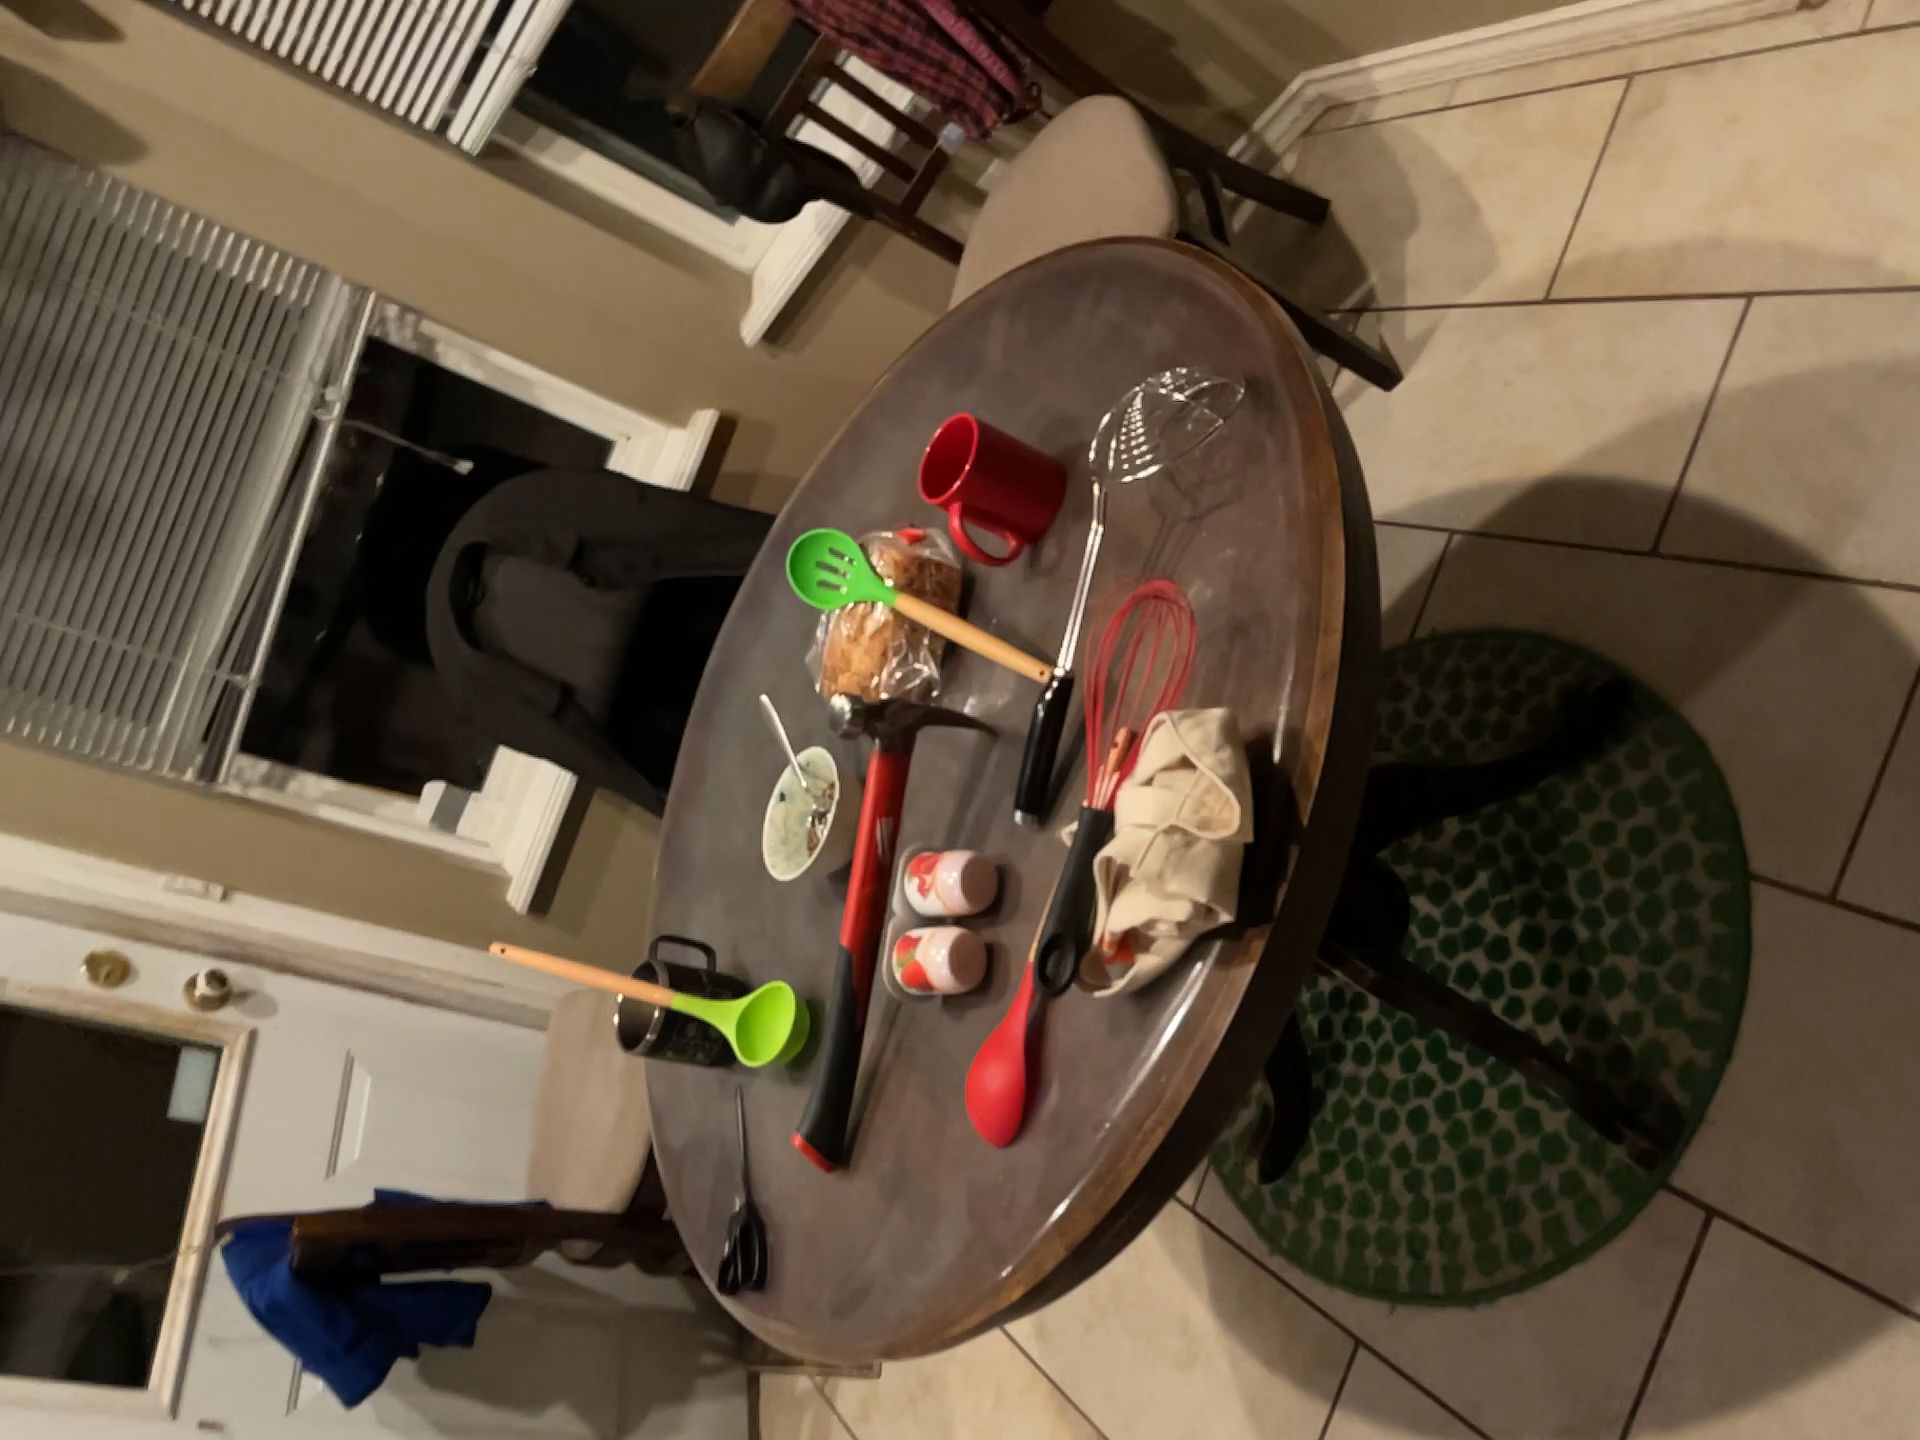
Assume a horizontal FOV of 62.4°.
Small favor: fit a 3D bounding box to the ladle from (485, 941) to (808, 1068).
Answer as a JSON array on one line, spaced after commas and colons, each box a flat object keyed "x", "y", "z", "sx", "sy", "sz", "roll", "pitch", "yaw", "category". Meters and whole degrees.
[{"x": -0.286, "y": 0.241, "z": 1.420, "sx": 0.062, "sy": 0.320, "sz": 0.078, "roll": 78, "pitch": -152, "yaw": -63, "category": "ladle"}]

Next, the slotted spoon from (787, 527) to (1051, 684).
[{"x": -0.032, "y": -0.089, "z": 1.332, "sx": 0.314, "sy": 0.031, "sz": 0.070, "roll": 28, "pitch": 102, "yaw": 36, "category": "slotted spoon"}]

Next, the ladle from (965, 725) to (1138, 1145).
[{"x": 0.067, "y": 0.152, "z": 1.140, "sx": 0.069, "sy": 0.031, "sz": 0.315, "roll": 17, "pitch": 84, "yaw": 58, "category": "ladle"}]

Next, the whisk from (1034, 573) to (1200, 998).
[{"x": 0.099, "y": 0.041, "z": 1.060, "sx": 0.073, "sy": 0.073, "sz": 0.296, "roll": 6, "pitch": 78, "yaw": 57, "category": "whisk"}]

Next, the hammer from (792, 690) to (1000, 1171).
[{"x": -0.065, "y": 0.174, "z": 1.285, "sx": 0.038, "sy": 0.143, "sz": 0.386, "roll": 17, "pitch": 99, "yaw": 60, "category": "hammer"}]

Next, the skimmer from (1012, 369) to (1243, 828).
[{"x": 0.120, "y": -0.090, "z": 1.196, "sx": 0.127, "sy": 0.090, "sz": 0.363, "roll": -146, "pitch": 68, "yaw": -66, "category": "skimmer"}]
